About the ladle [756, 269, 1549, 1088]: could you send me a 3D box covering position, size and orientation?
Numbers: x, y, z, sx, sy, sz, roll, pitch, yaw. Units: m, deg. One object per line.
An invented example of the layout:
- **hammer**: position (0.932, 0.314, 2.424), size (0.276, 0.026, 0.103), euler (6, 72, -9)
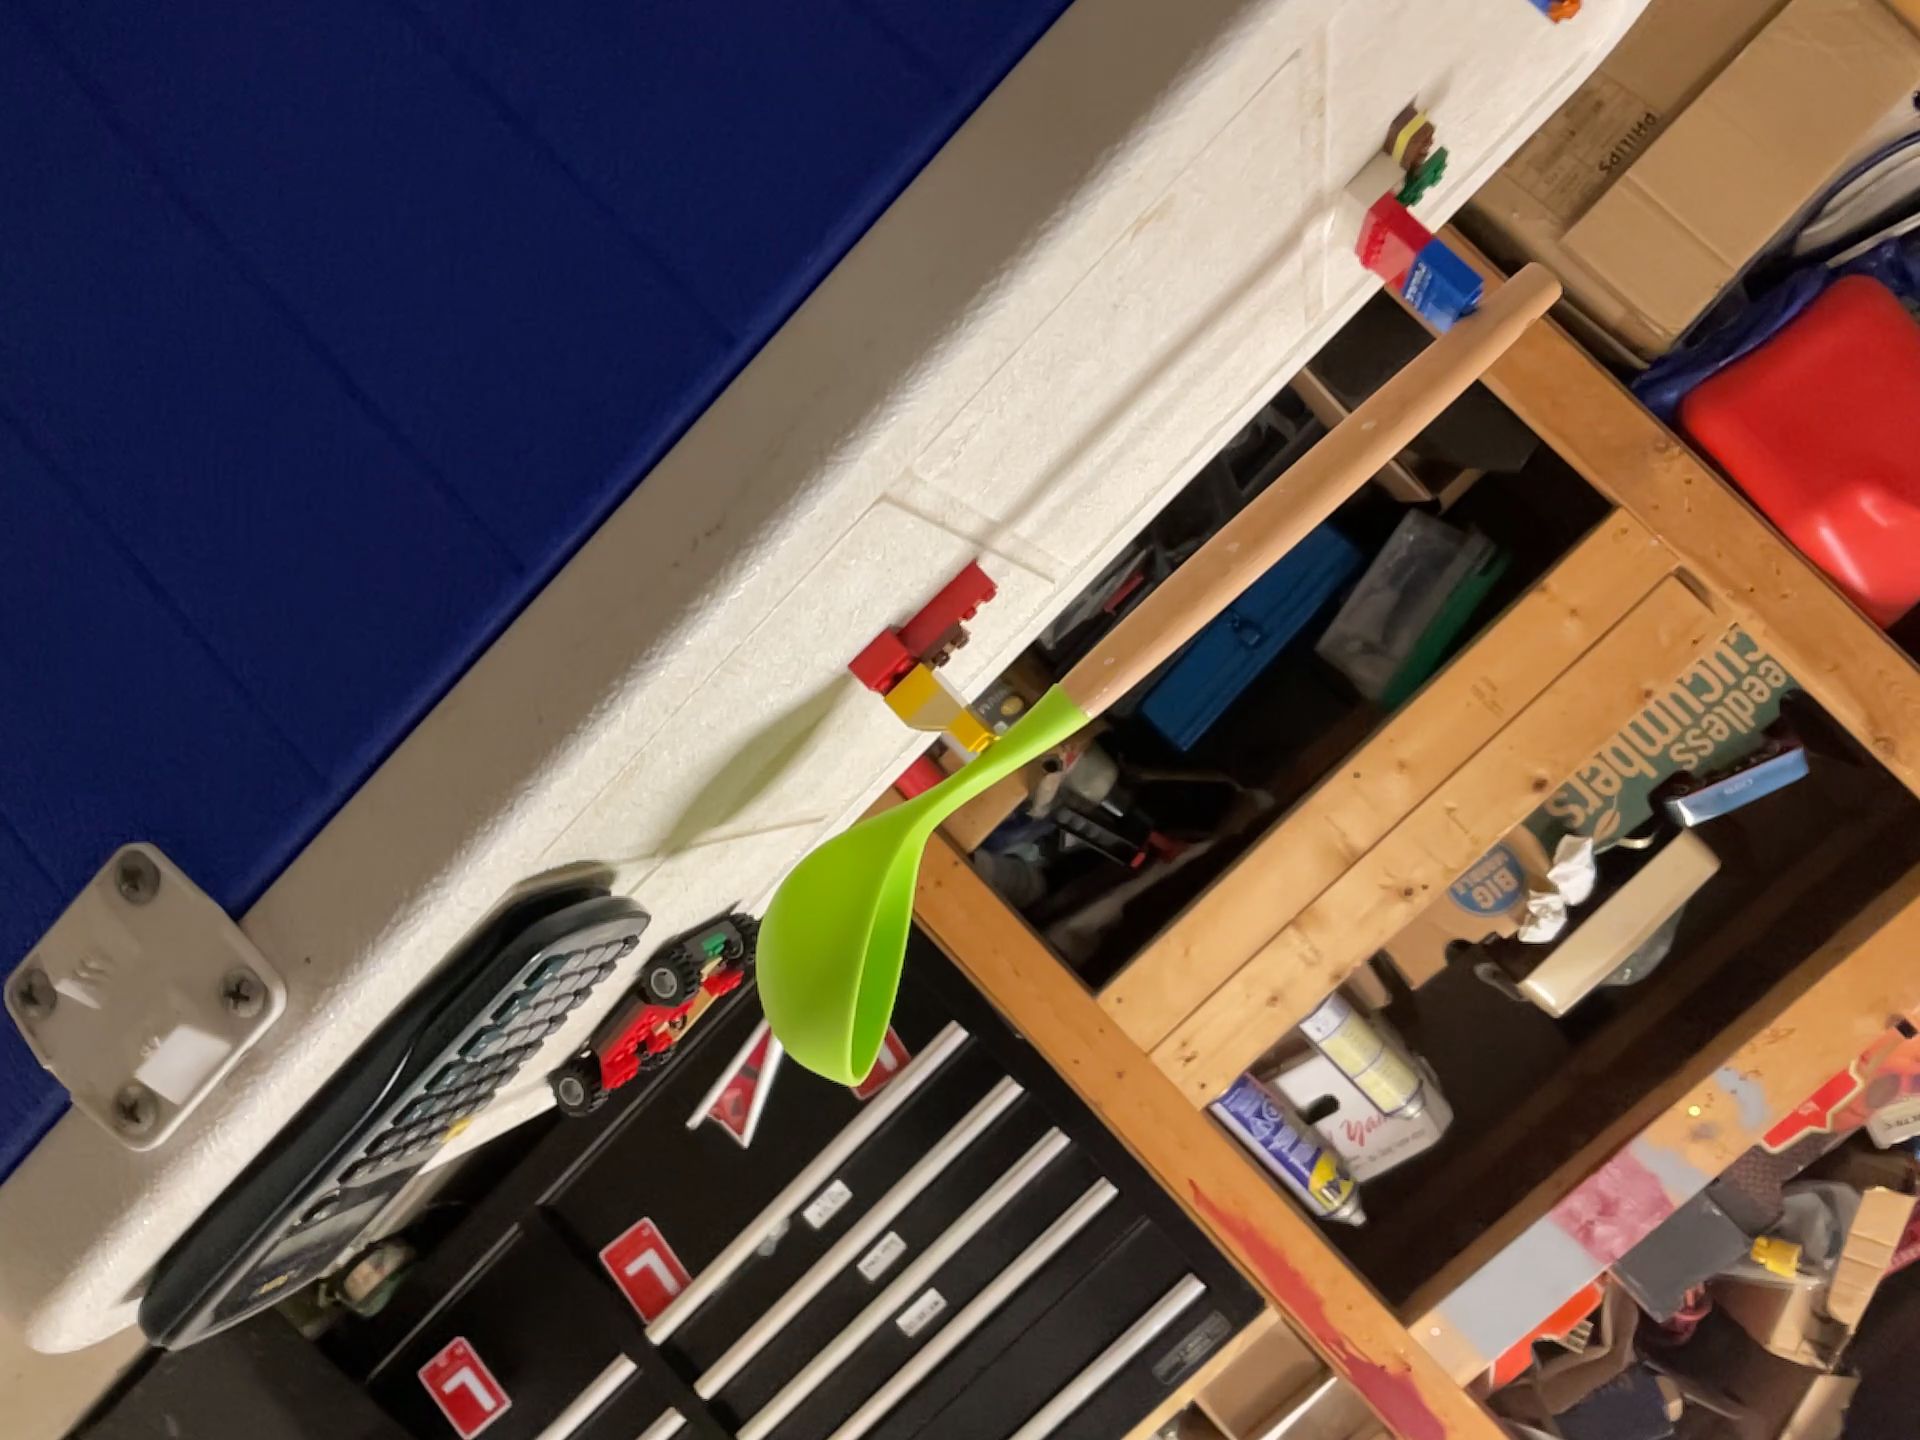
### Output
- **ladle**: position (0.061, -0.014, 0.479), size (0.320, 0.062, 0.078), euler (-42, 171, 2)
